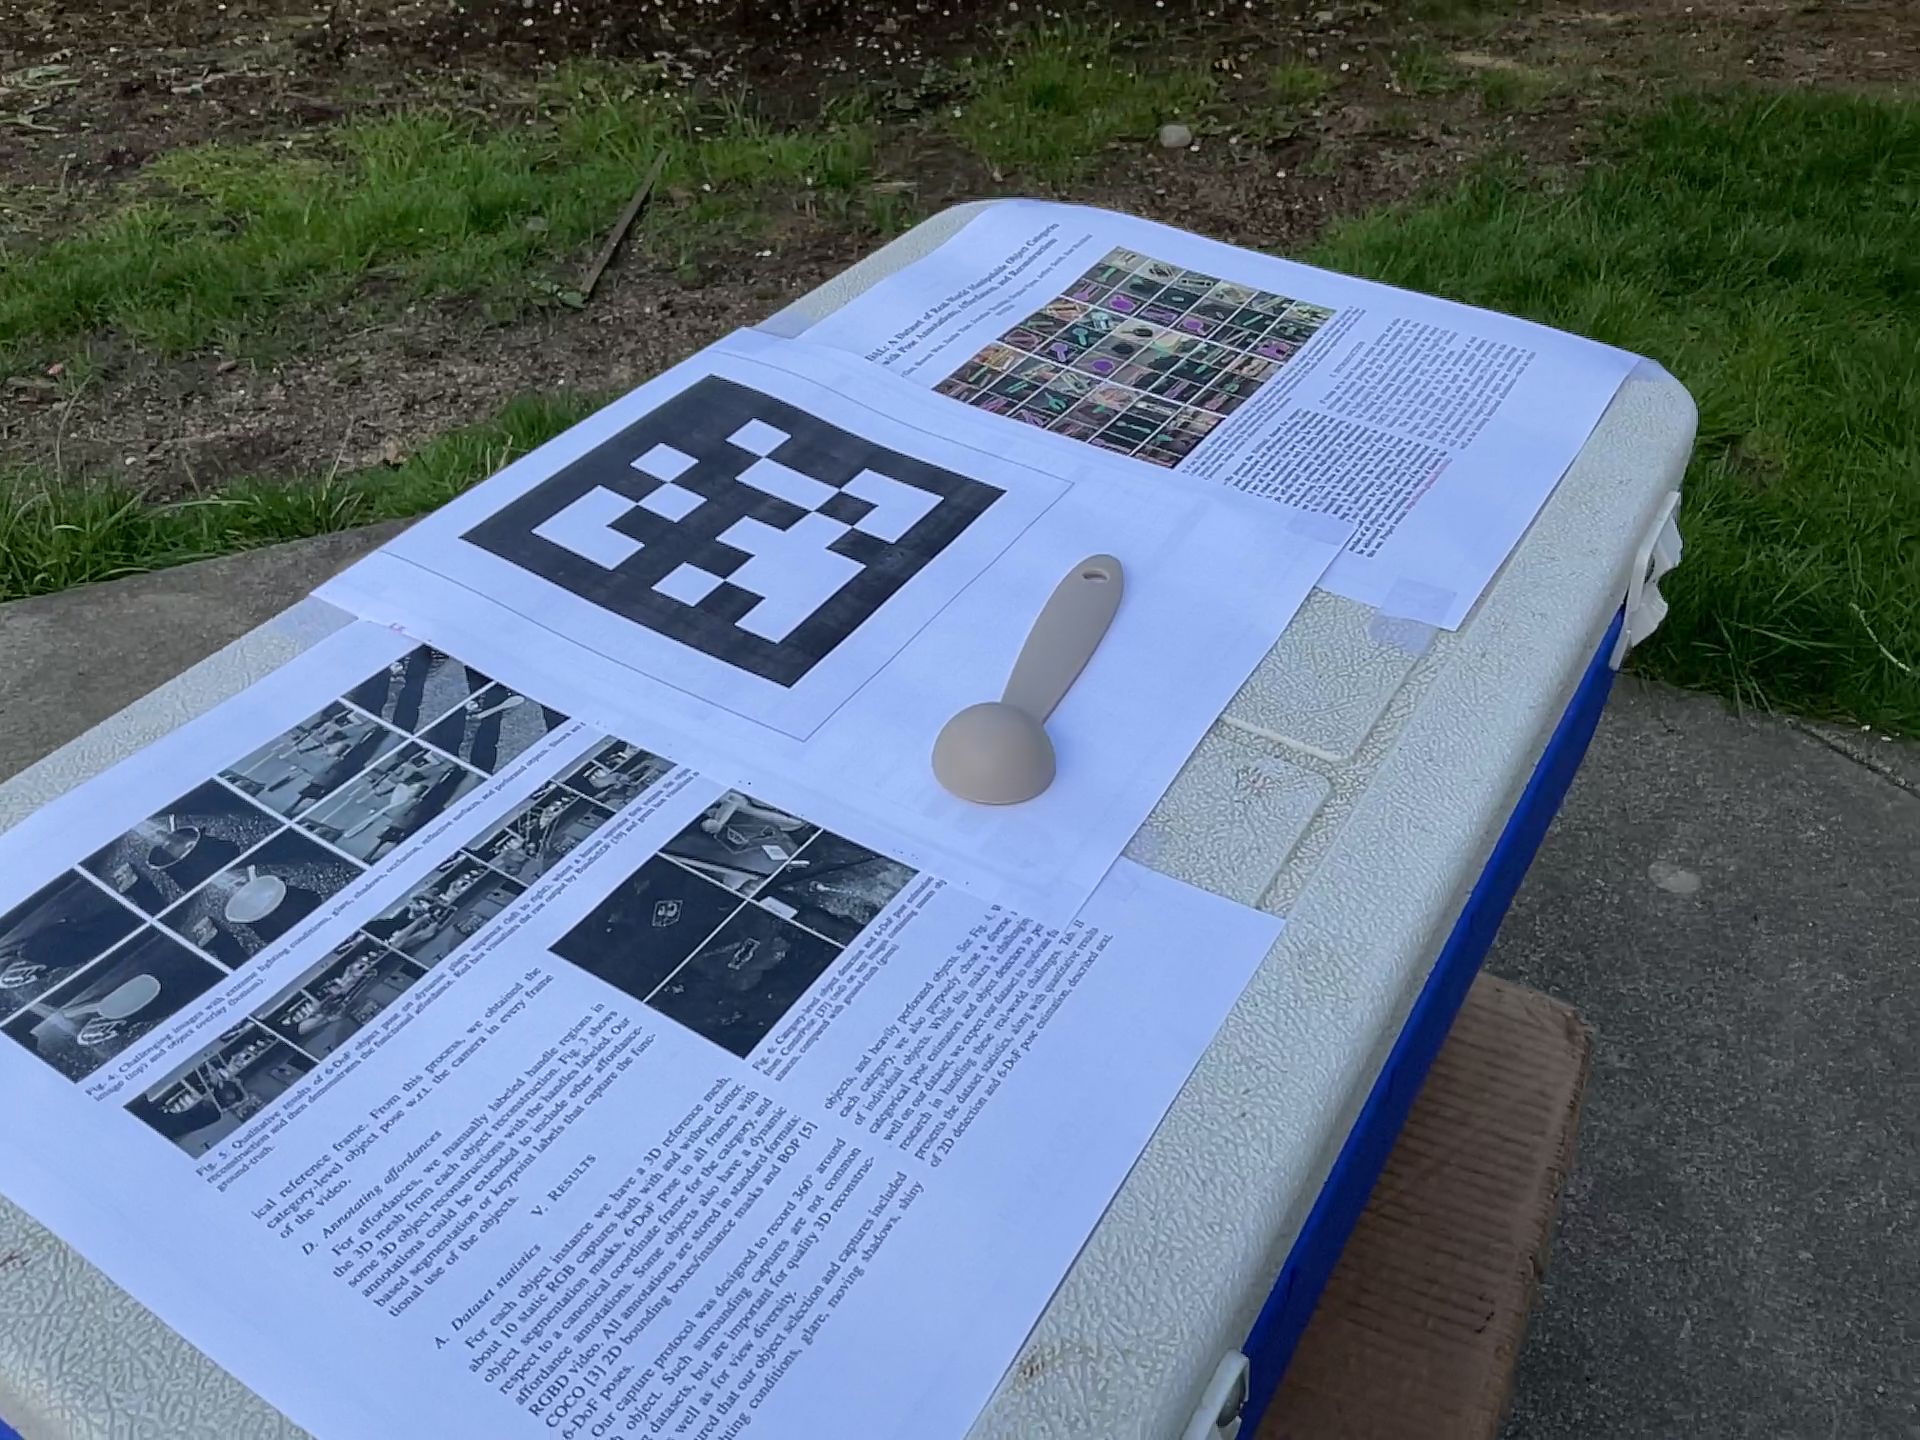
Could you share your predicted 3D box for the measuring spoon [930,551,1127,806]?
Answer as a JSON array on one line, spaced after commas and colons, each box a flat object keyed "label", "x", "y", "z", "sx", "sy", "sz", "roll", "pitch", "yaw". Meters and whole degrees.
[{"label": "measuring spoon", "x": 0.025, "y": -0.020, "z": 0.460, "sx": 0.034, "sy": 0.018, "sz": 0.124, "roll": 15, "pitch": 41, "yaw": 15}]
